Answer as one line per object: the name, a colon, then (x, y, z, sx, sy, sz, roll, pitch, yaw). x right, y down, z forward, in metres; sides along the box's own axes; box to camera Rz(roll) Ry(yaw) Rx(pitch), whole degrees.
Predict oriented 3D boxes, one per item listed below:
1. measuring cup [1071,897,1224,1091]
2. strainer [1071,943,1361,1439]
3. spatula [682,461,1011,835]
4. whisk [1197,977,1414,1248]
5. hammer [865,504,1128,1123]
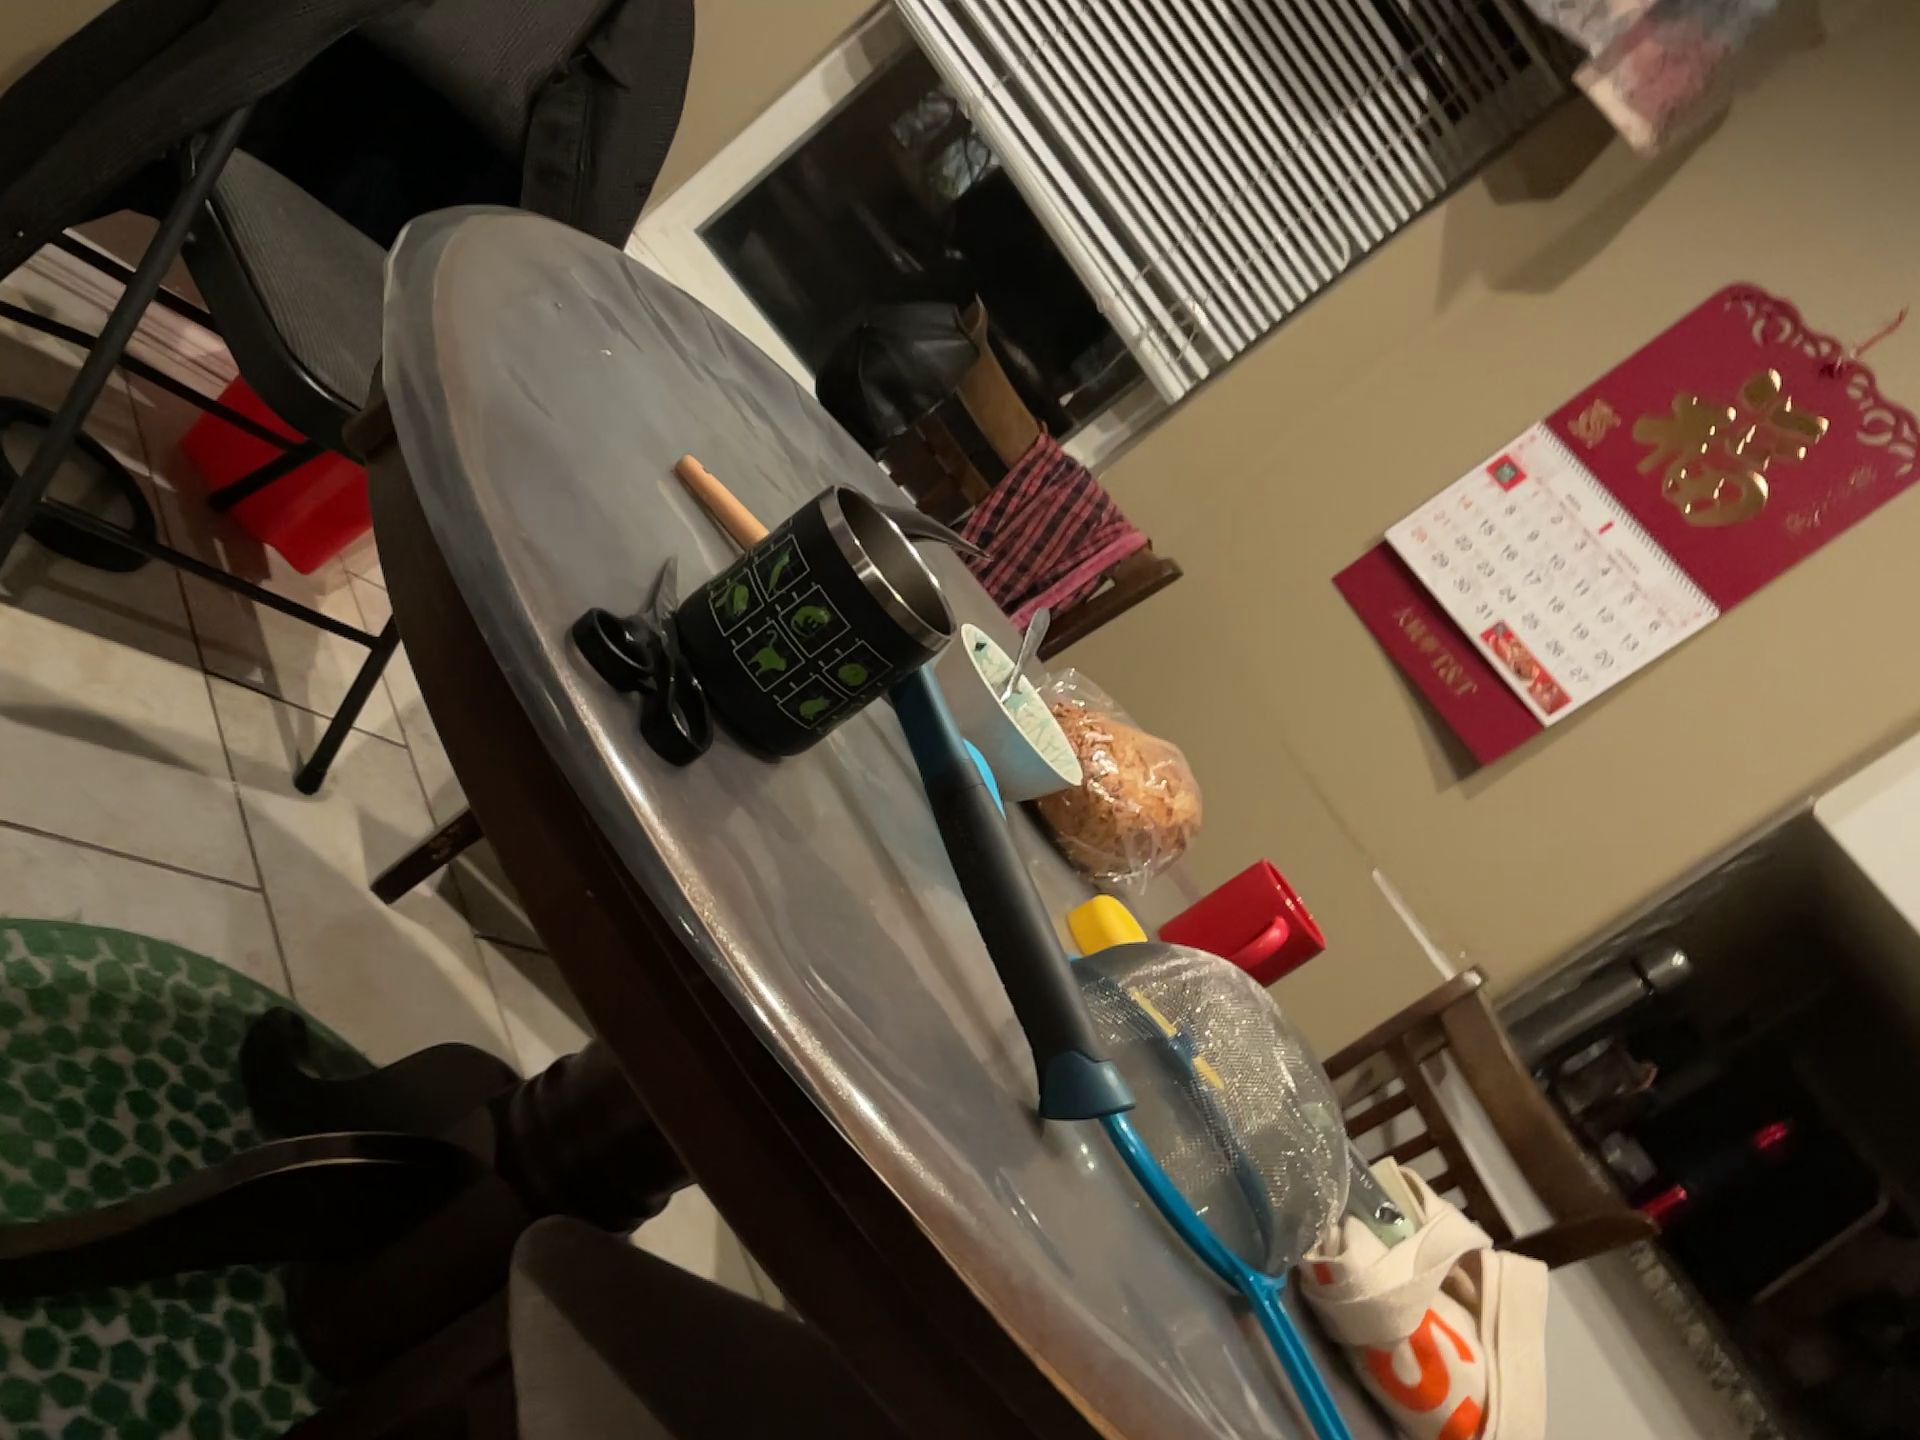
measuring cup: (0.128, 0.174, 1.013, 0.156, 0.029, 0.062, 49, 13, -13)
strainer: (0.162, 0.234, 0.826, 0.211, 0.095, 0.341, 41, 13, -42)
spatula: (-0.054, -0.017, 0.902, 0.317, 0.044, 0.082, 48, 13, -2)
whisk: (0.221, 0.250, 1.034, 0.246, 0.058, 0.059, -124, -159, -57)
hammer: (-0.004, 0.040, 0.776, 0.033, 0.128, 0.331, 20, 44, -64)
